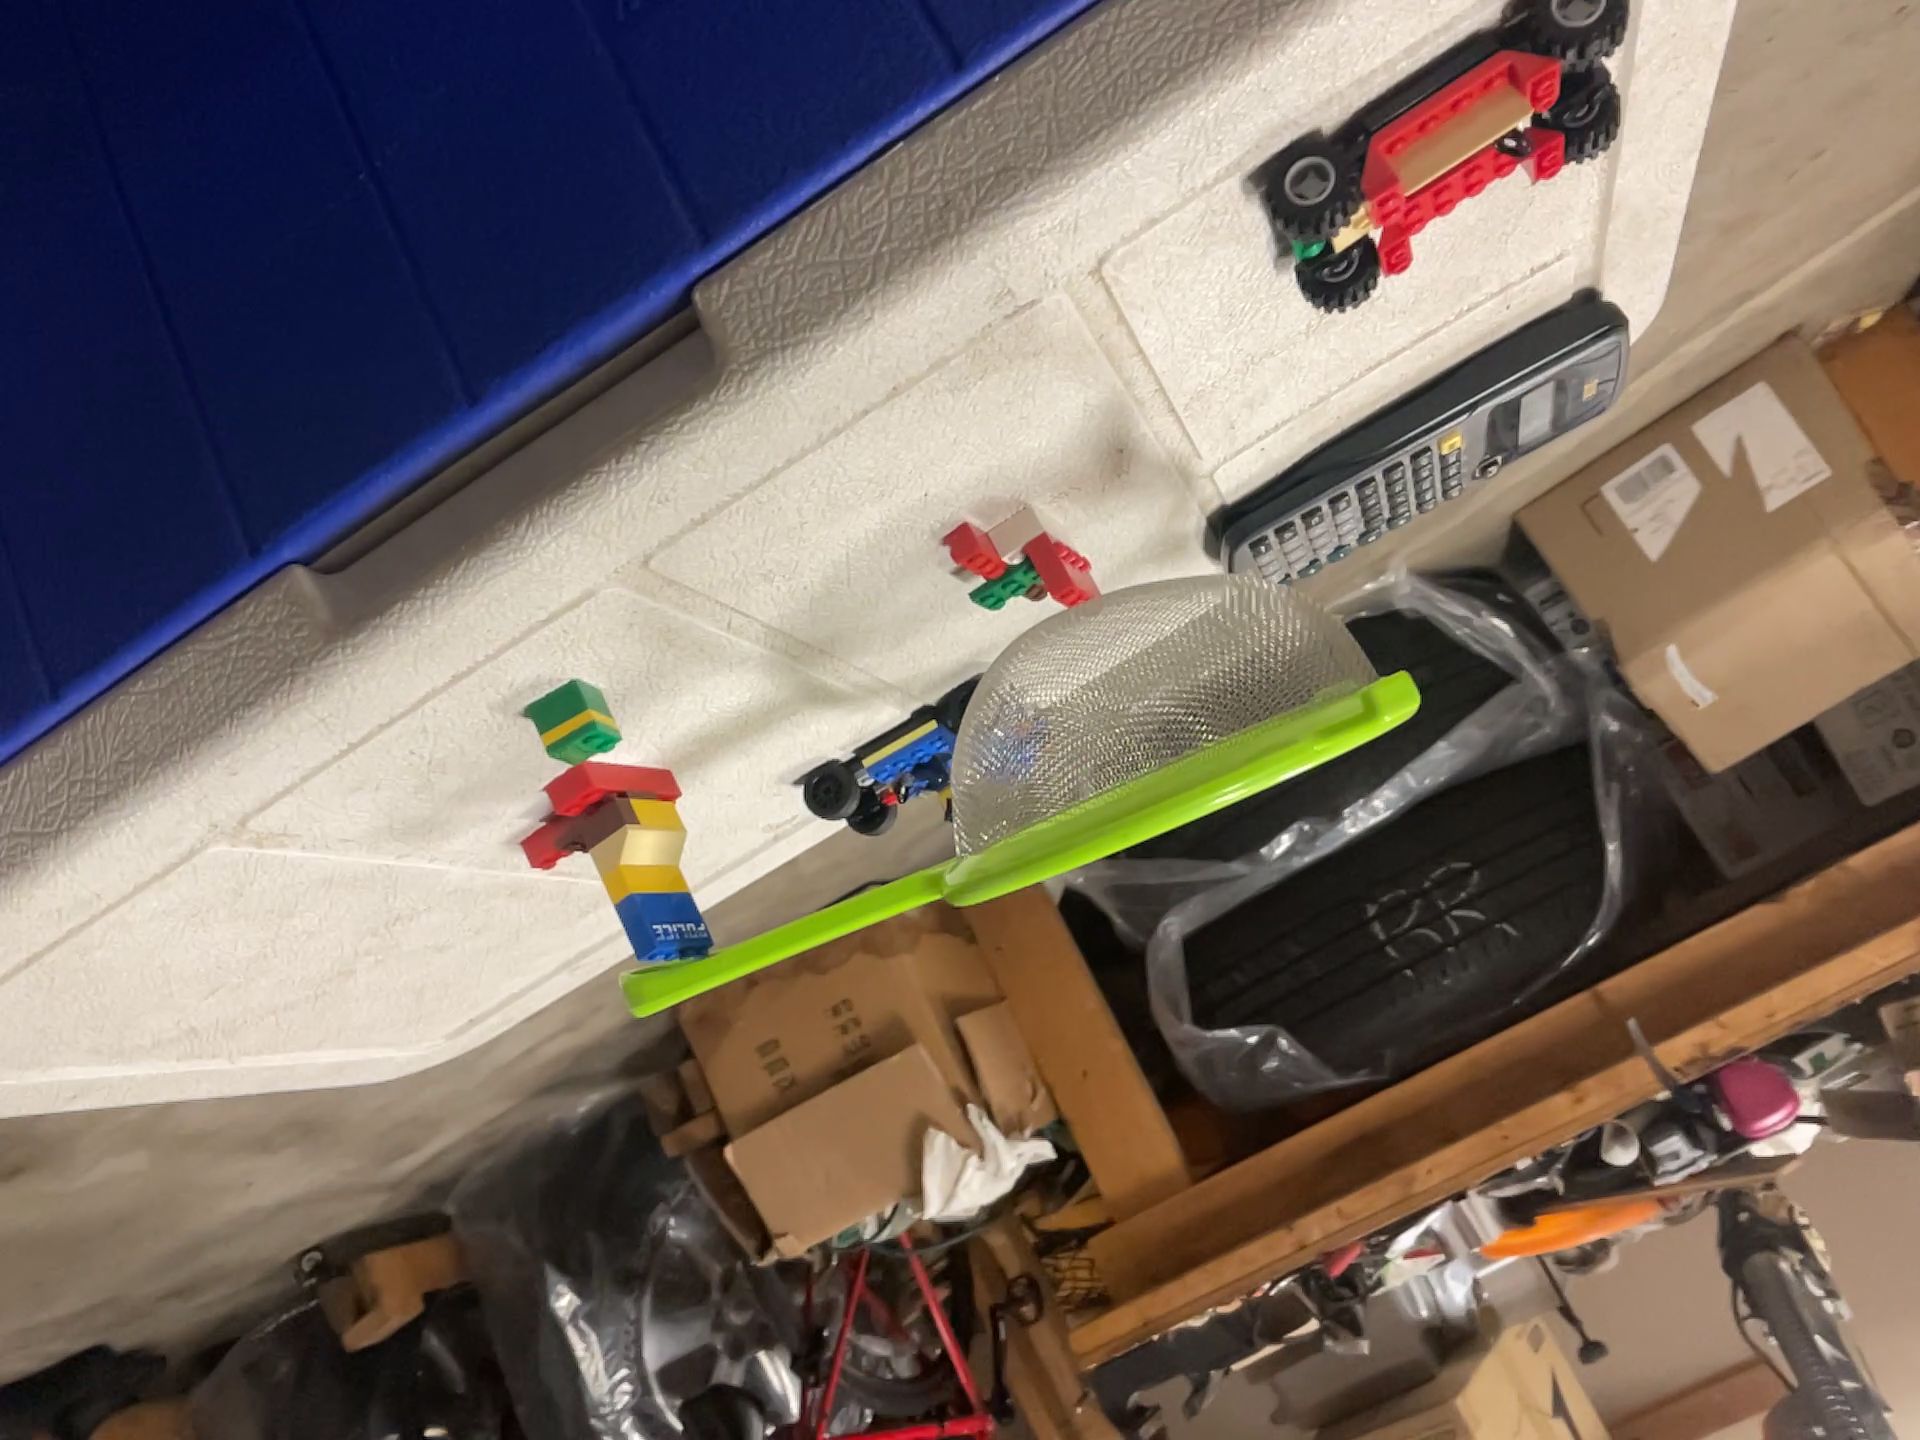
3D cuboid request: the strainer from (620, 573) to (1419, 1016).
[{"bbox_3d":[0.005,0.016,0.485,0.256,0.069,0.151,-22,178,8],"label":"strainer"}]
